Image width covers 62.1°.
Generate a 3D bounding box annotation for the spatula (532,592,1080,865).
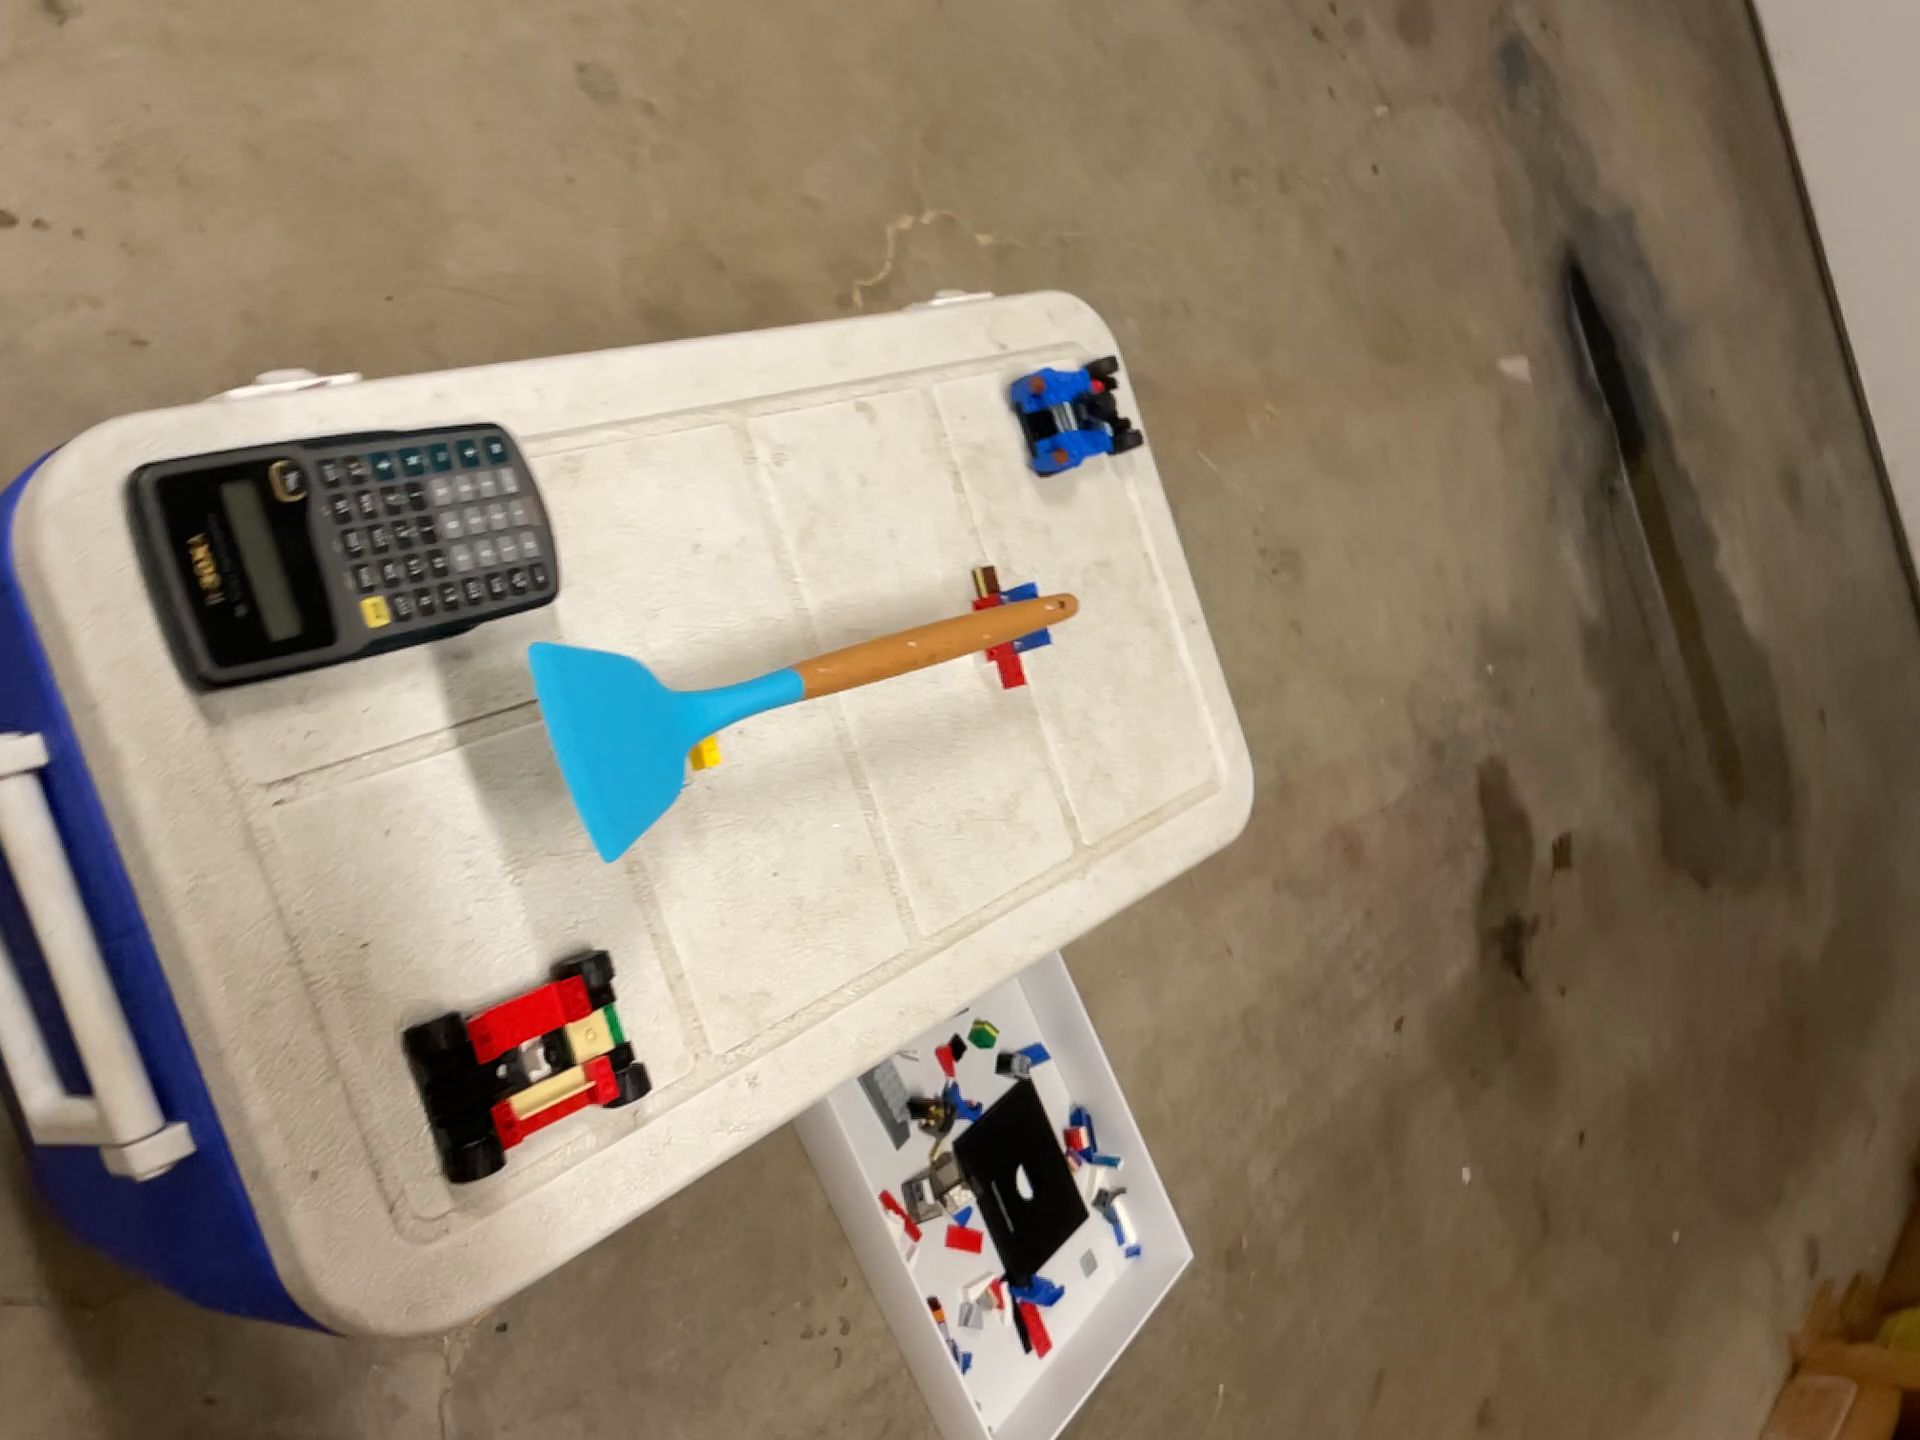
[{"bbox_3d":[-0.043,-0.021,0.662,0.317,0.044,0.082,-20,91,-46],"label":"spatula"}]
